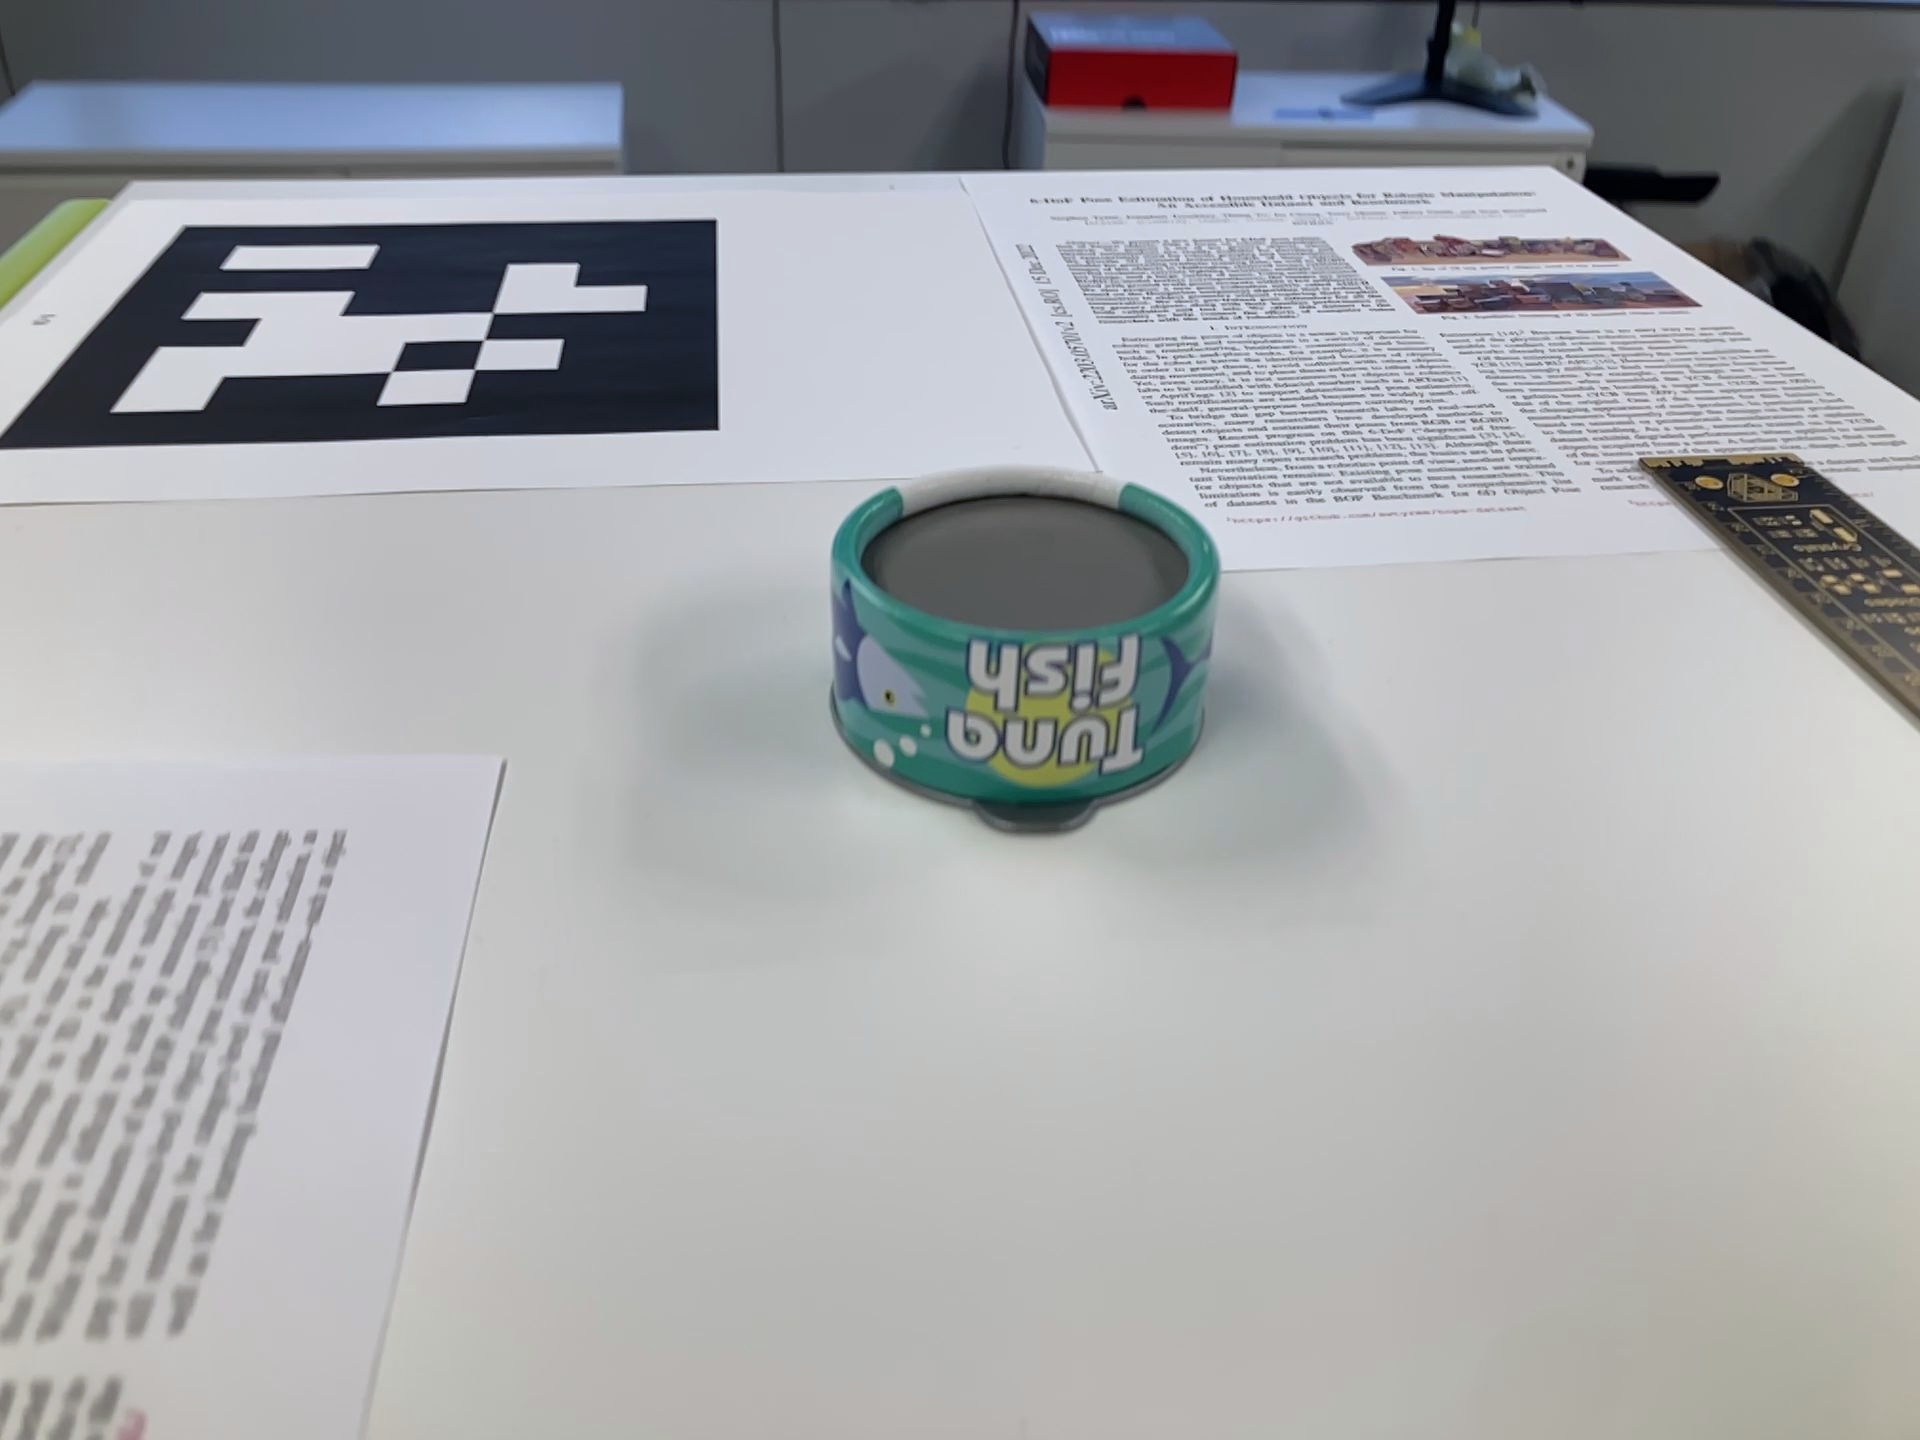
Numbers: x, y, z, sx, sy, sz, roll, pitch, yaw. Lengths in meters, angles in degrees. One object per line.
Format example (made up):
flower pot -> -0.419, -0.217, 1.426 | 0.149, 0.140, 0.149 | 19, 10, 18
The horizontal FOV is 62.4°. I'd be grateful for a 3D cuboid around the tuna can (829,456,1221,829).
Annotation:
tuna can -> 0.011, -0.016, 0.270 | 0.071, 0.033, 0.071 | 0, 35, 0
